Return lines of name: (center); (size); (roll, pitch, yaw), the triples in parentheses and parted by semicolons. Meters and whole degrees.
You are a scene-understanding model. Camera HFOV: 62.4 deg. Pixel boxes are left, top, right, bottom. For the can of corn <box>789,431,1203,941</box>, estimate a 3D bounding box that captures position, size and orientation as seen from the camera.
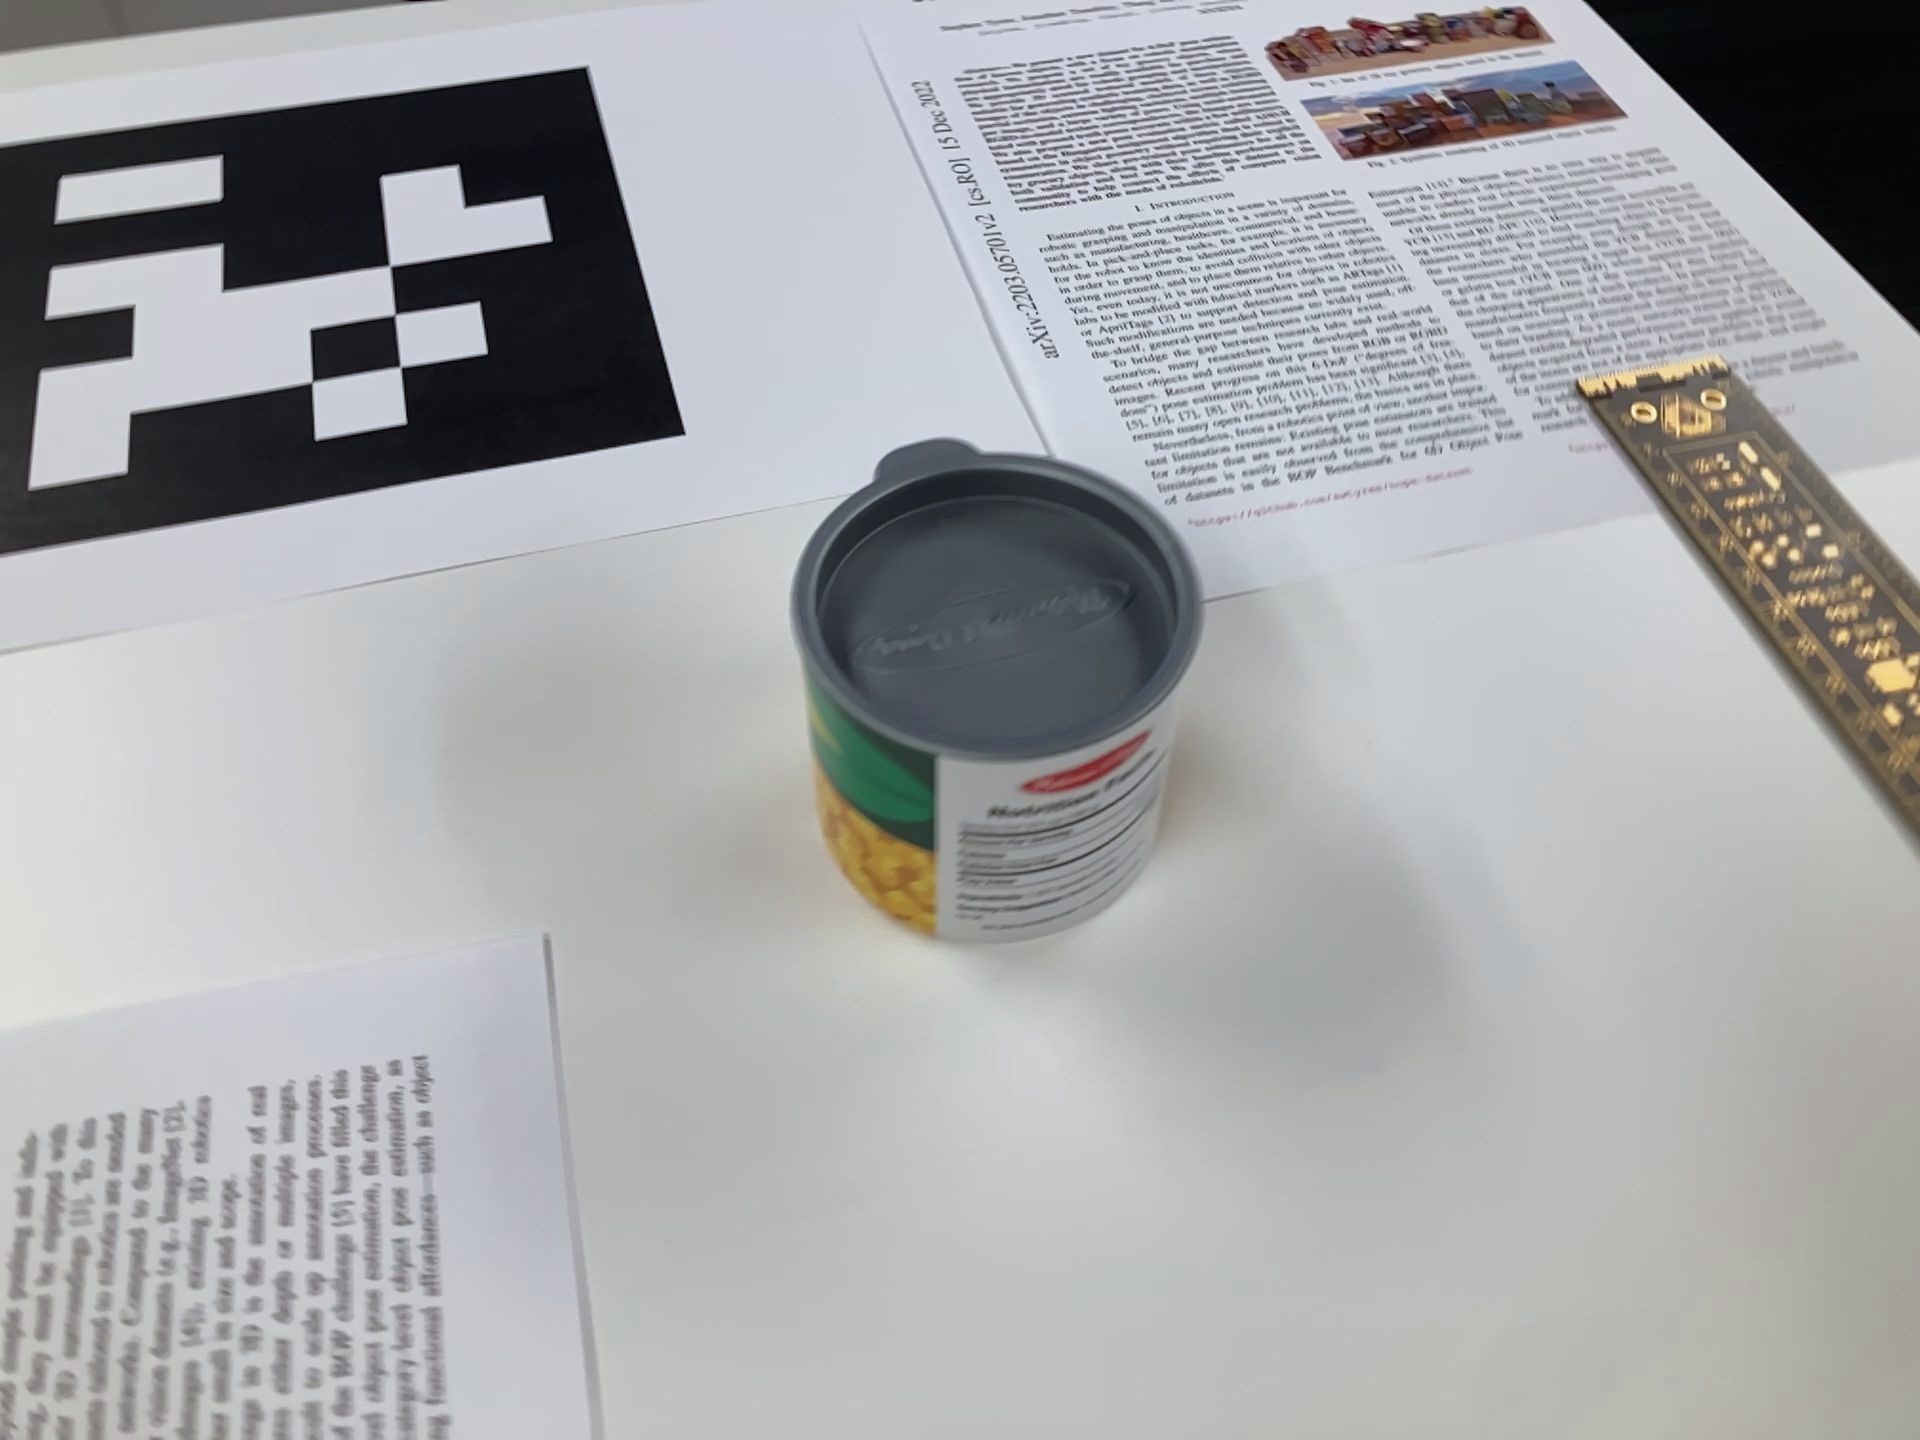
can of corn: (0.005, -0.006, 0.277); (0.071, 0.058, 0.071); (0, 52, 0)
